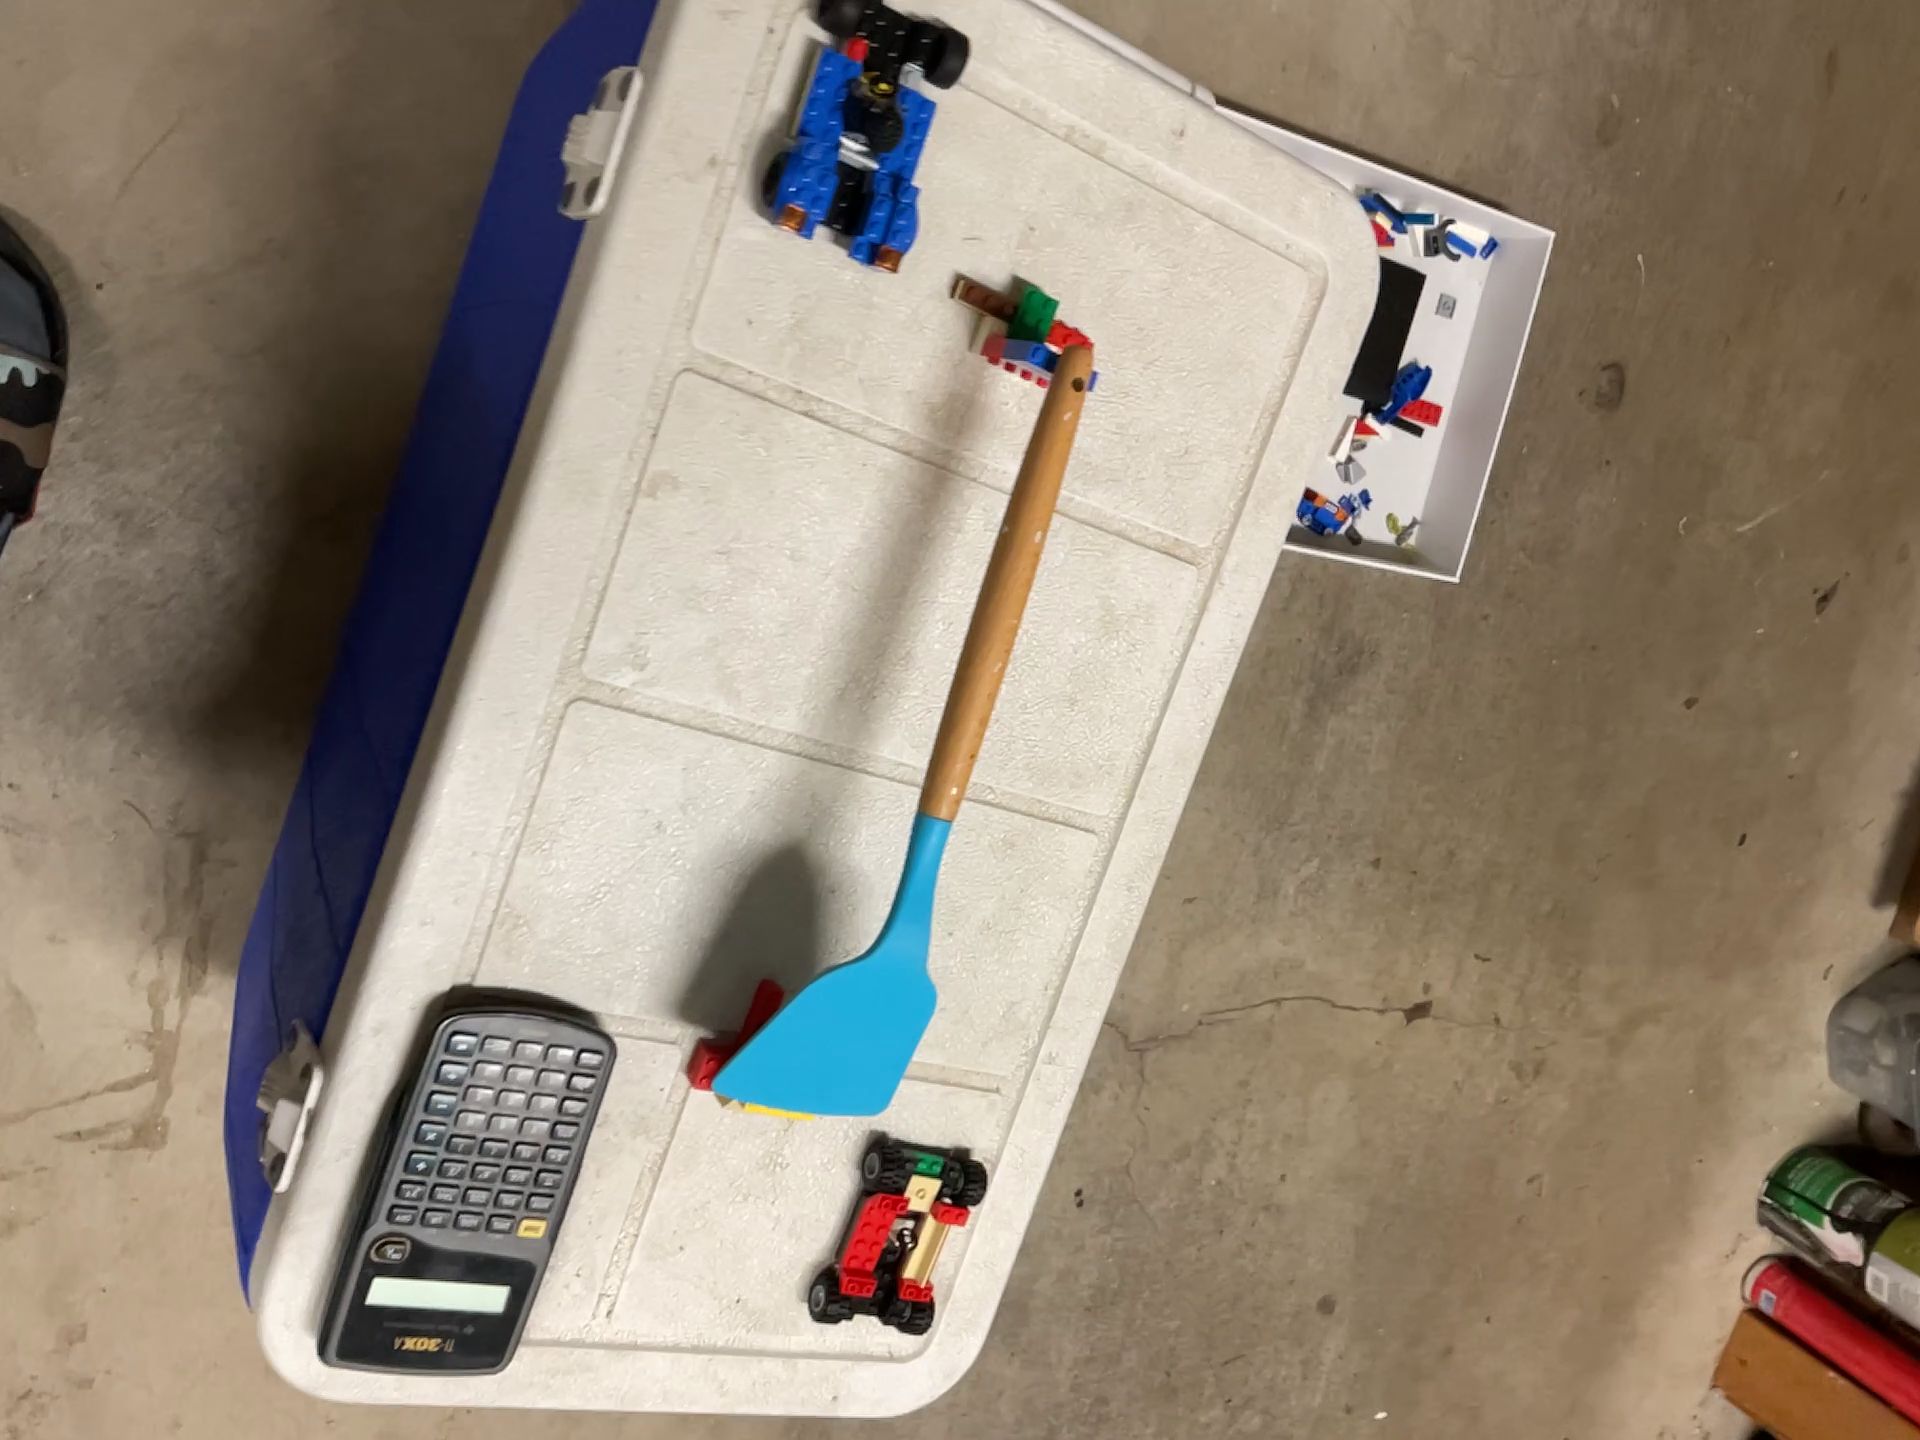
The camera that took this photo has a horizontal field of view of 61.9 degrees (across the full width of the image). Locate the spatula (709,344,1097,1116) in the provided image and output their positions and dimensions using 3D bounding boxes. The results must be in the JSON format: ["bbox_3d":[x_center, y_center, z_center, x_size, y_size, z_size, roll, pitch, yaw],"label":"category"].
[{"bbox_3d":[-0.008,0.009,0.615,0.082,0.044,0.317,17,93,-30],"label":"spatula"}]
